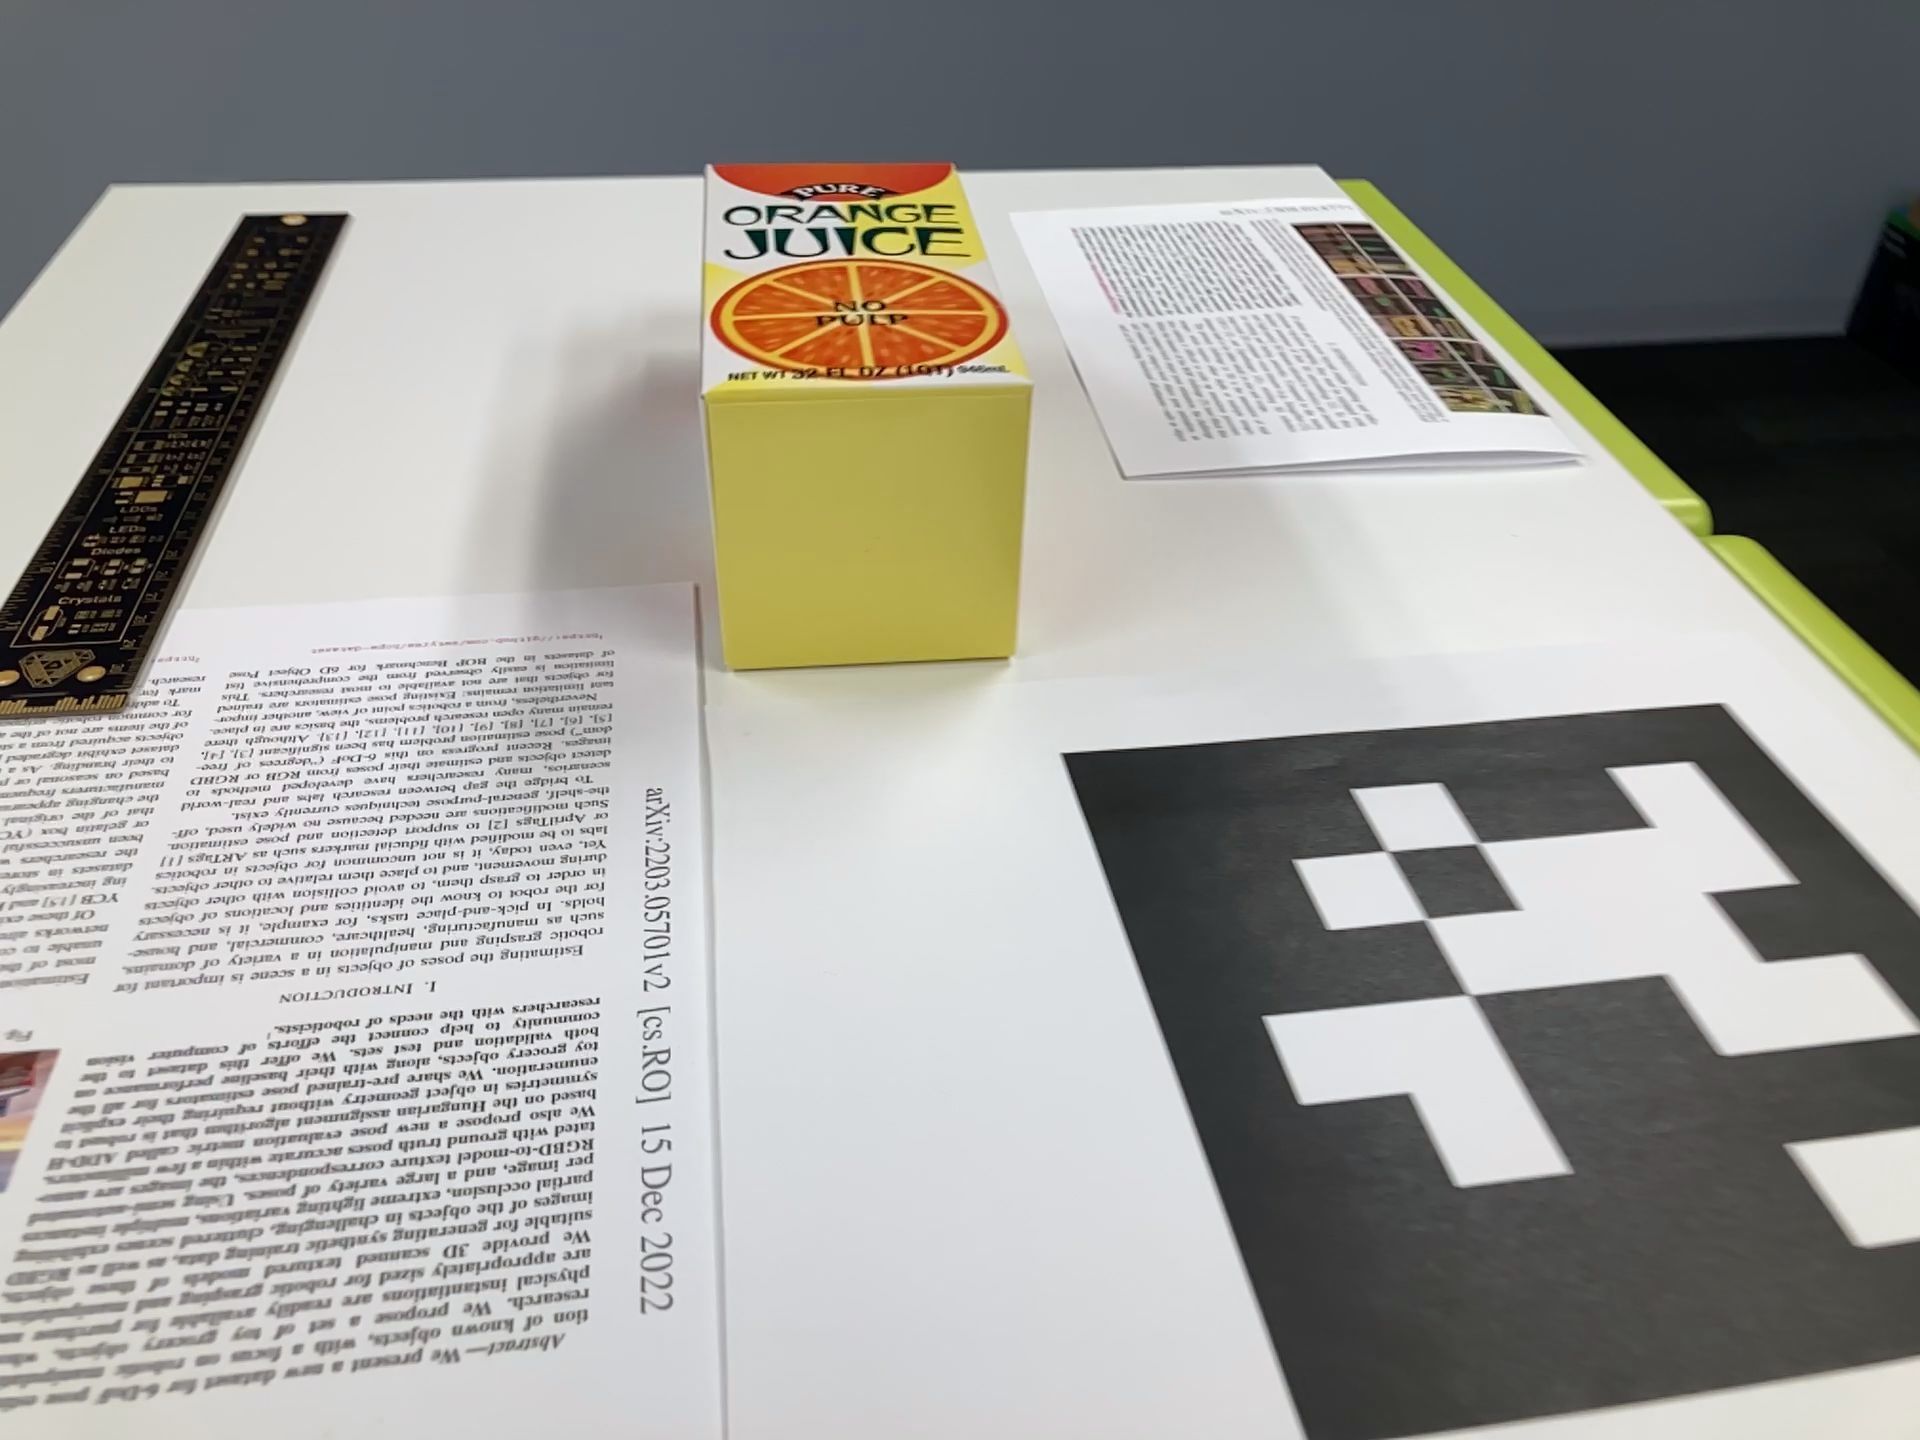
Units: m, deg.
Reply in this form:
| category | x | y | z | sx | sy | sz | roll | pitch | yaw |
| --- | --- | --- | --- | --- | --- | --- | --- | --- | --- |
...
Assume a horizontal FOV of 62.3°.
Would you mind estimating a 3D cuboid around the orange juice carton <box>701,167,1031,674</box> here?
| category | x | y | z | sx | sy | sz | roll | pitch | yaw |
| --- | --- | --- | --- | --- | --- | --- | --- | --- | --- |
| orange juice carton | -0.032 | -0.098 | 0.433 | 0.072 | 0.073 | 0.192 | -3 | 37 | -6 |
